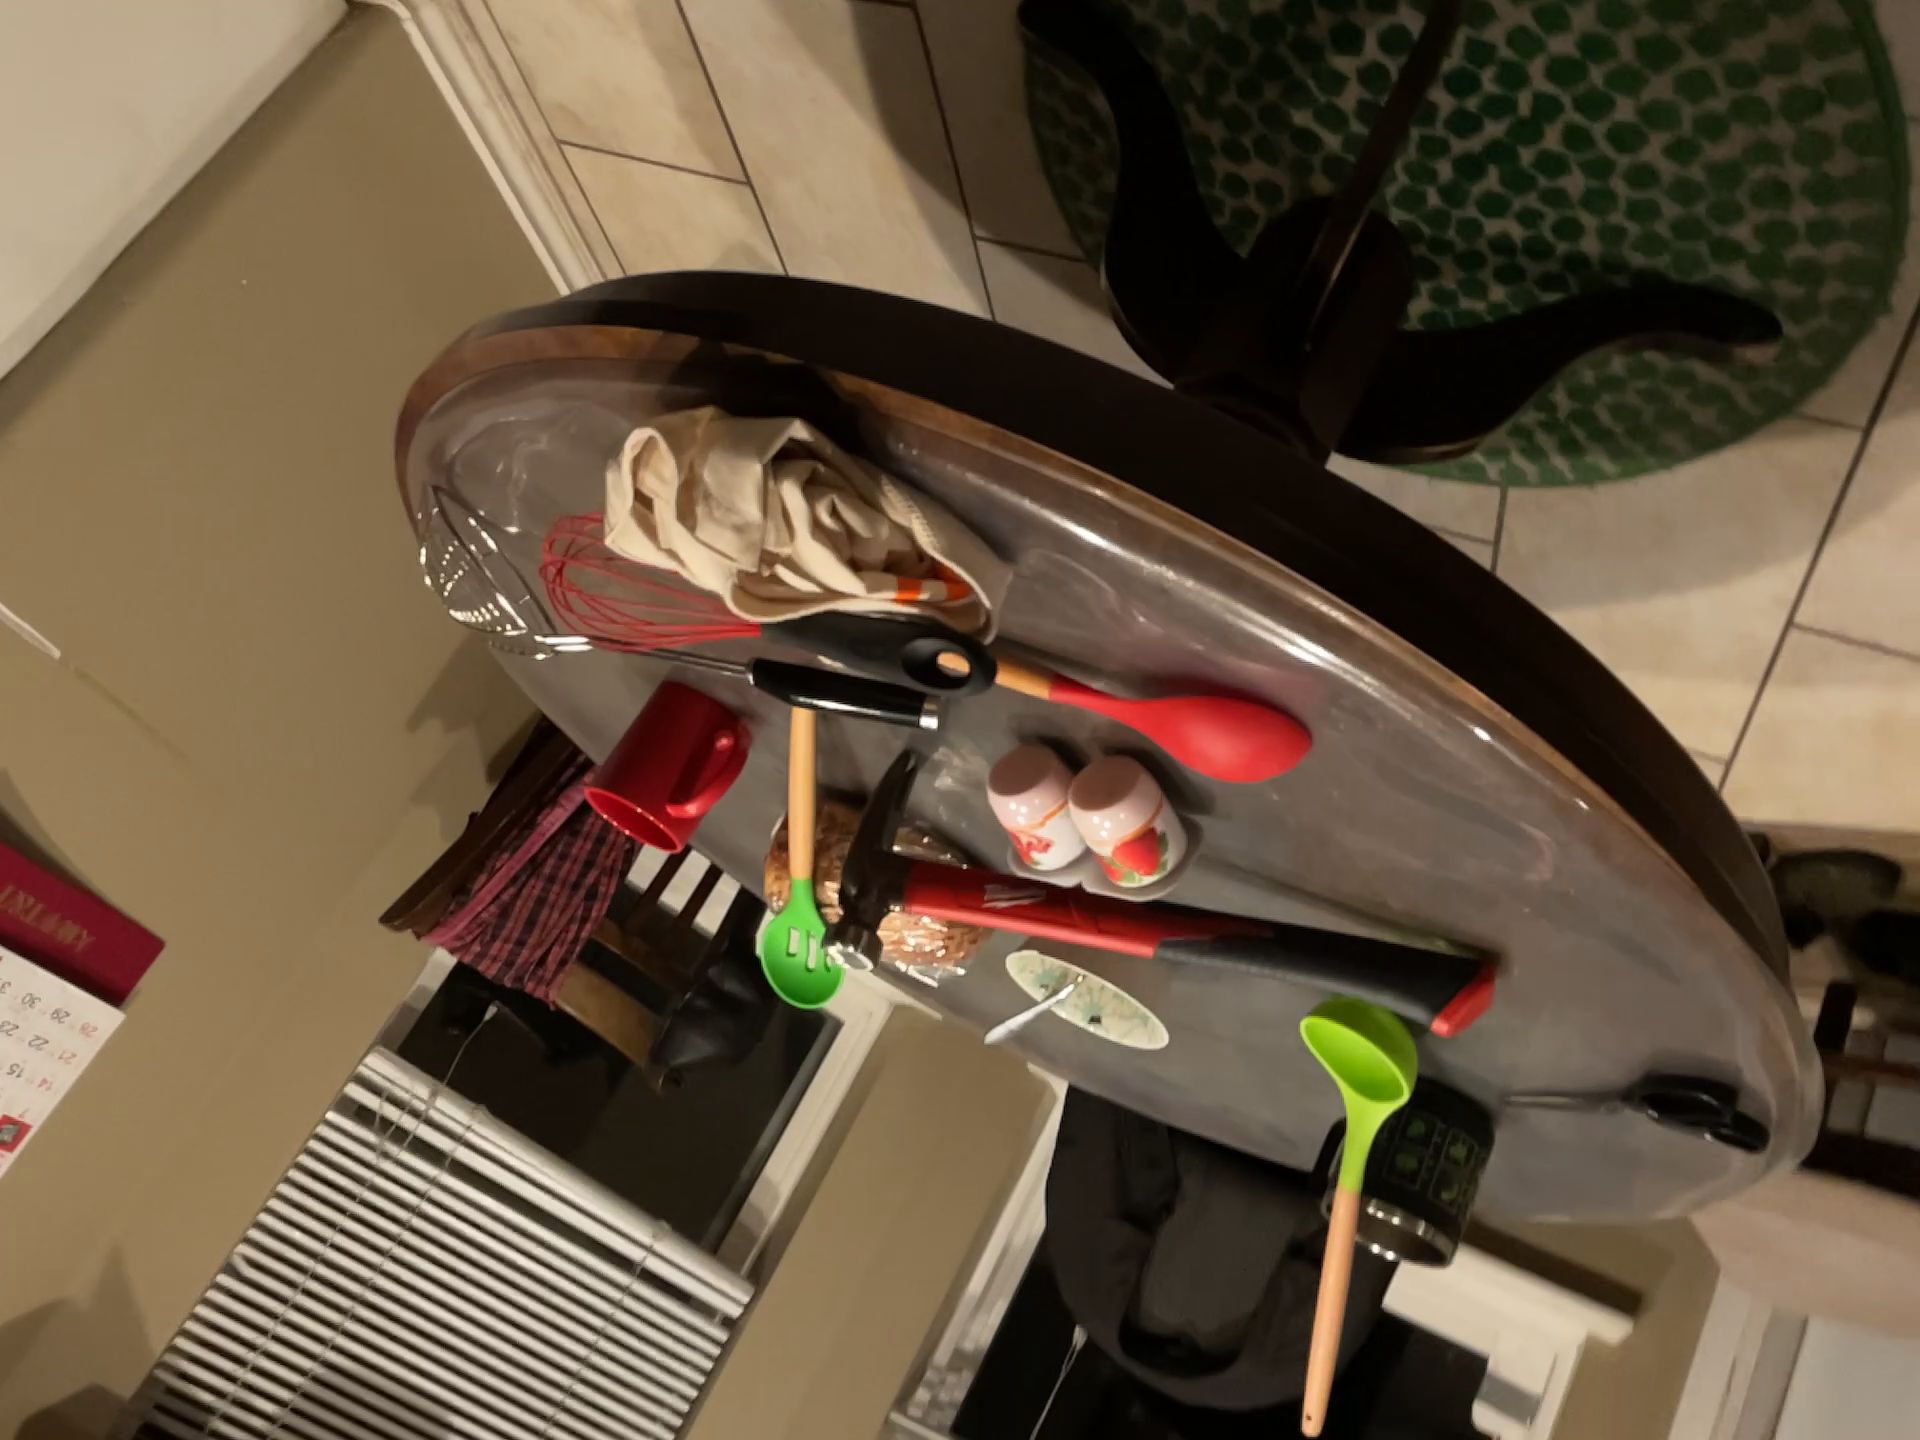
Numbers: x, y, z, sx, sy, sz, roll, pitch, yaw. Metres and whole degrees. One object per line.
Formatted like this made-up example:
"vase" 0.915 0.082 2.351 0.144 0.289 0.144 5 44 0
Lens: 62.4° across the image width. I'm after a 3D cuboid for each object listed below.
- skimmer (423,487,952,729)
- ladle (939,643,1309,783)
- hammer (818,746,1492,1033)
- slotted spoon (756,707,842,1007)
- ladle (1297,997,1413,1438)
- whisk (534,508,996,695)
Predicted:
"skimmer" -0.171 -0.067 0.972 0.363 0.090 0.127 11 161 16
"ladle" 0.027 -0.028 0.818 0.316 0.031 0.069 21 156 27
"hammer" 0.112 0.107 0.934 0.386 0.143 0.038 8 152 21
"slotted spoon" -0.108 0.087 1.089 0.070 0.031 0.313 19 133 14
"ladle" 0.237 0.327 1.019 0.062 0.320 0.078 -7 -161 -38
"whisk" -0.108 -0.055 0.794 0.296 0.073 0.073 15 152 31
